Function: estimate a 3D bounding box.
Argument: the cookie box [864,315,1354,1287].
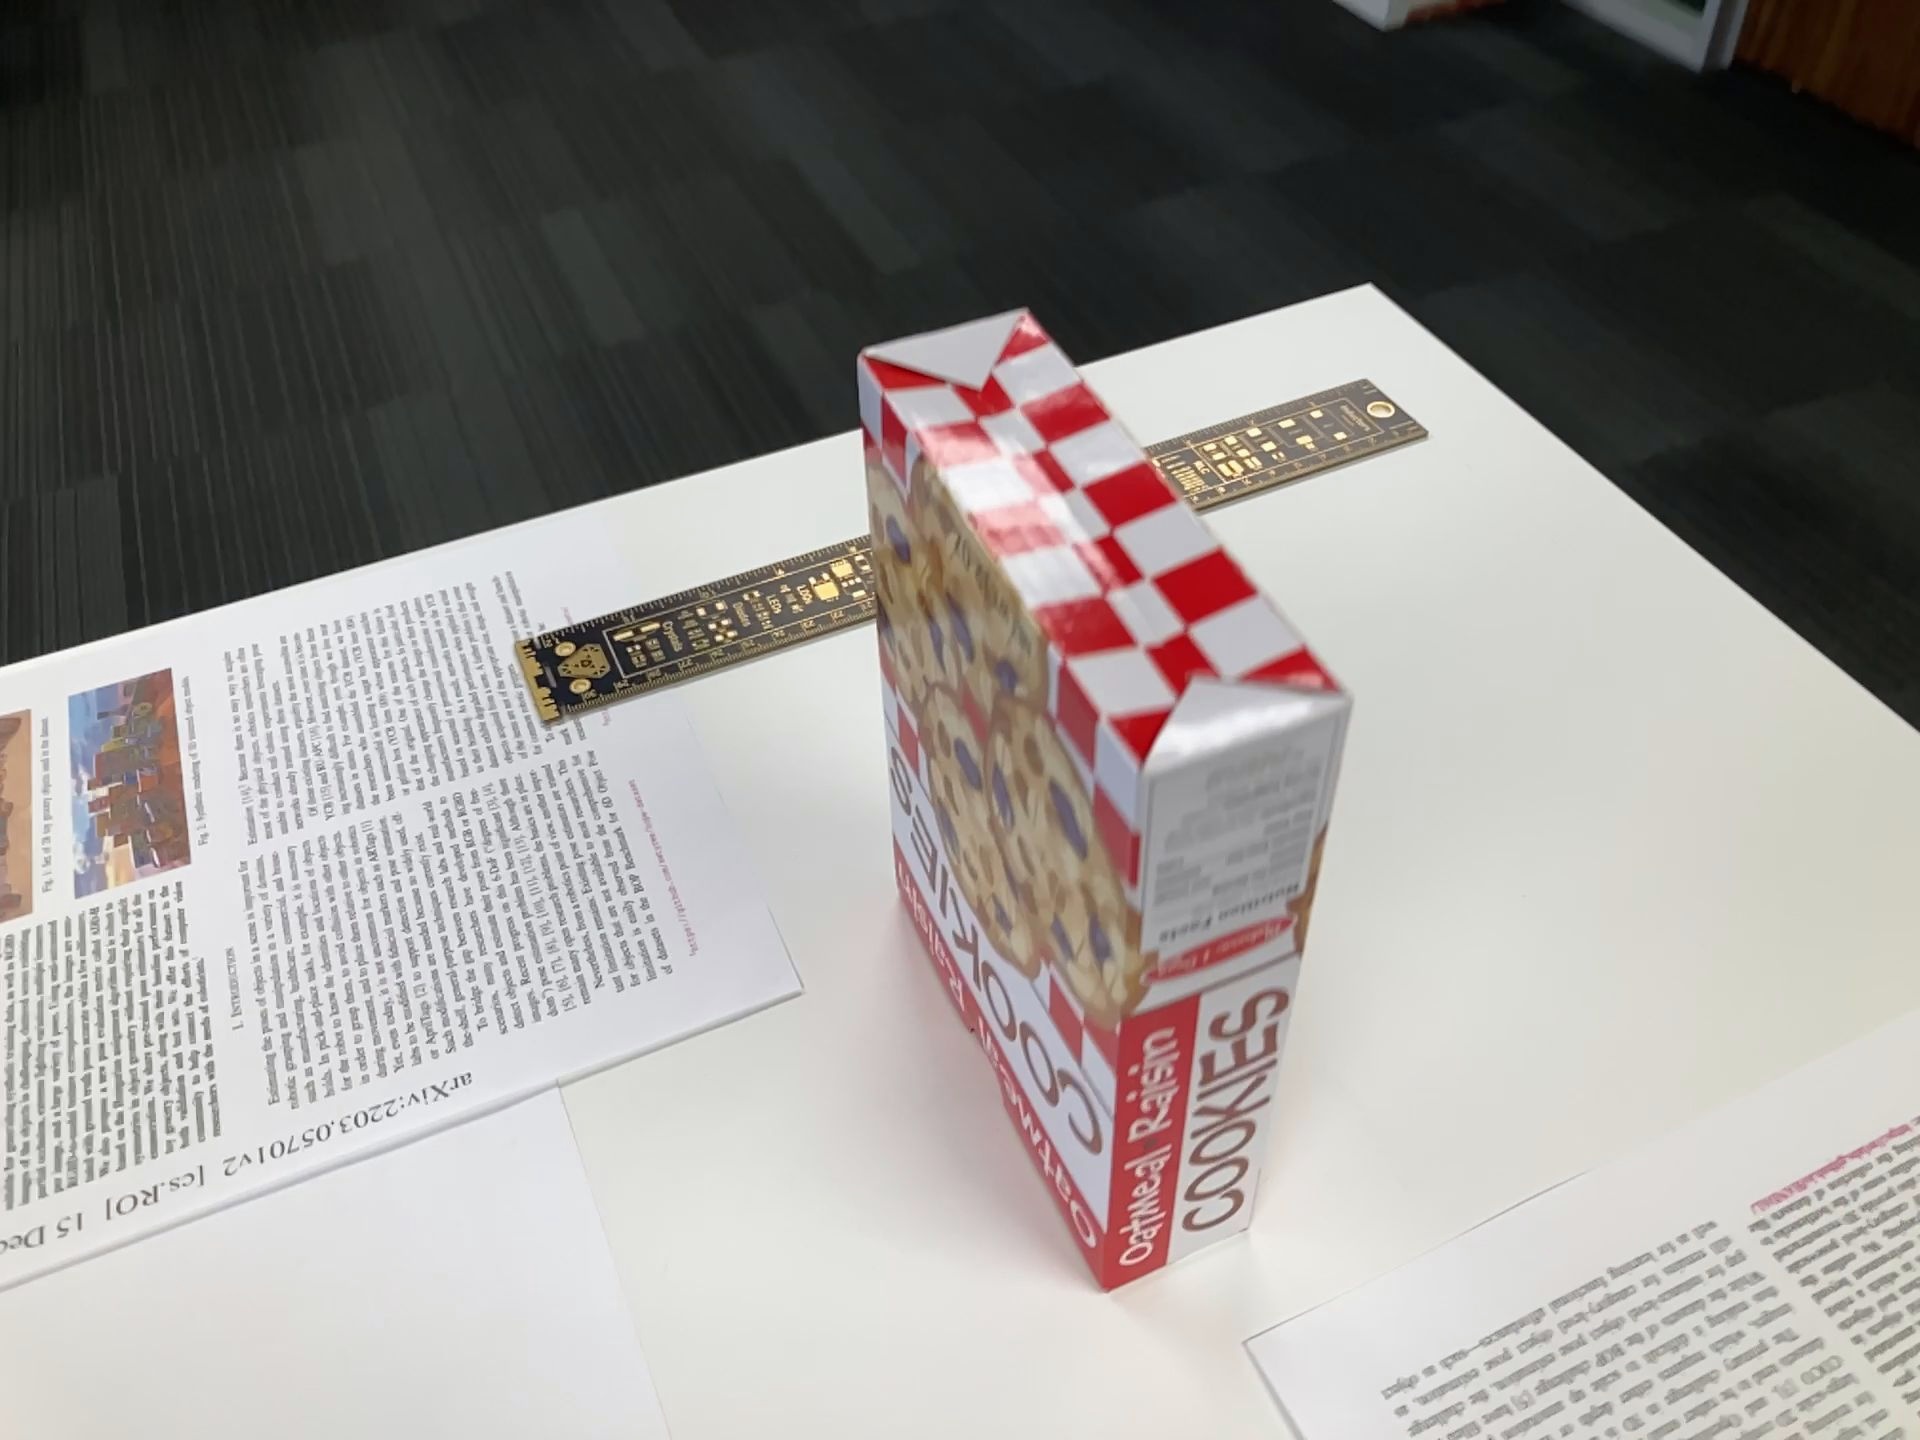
[{"bbox_3d":[0.021,0.022,0.332,0.040,0.167,0.123,-17,47,-14],"label":"cookie box"}]
